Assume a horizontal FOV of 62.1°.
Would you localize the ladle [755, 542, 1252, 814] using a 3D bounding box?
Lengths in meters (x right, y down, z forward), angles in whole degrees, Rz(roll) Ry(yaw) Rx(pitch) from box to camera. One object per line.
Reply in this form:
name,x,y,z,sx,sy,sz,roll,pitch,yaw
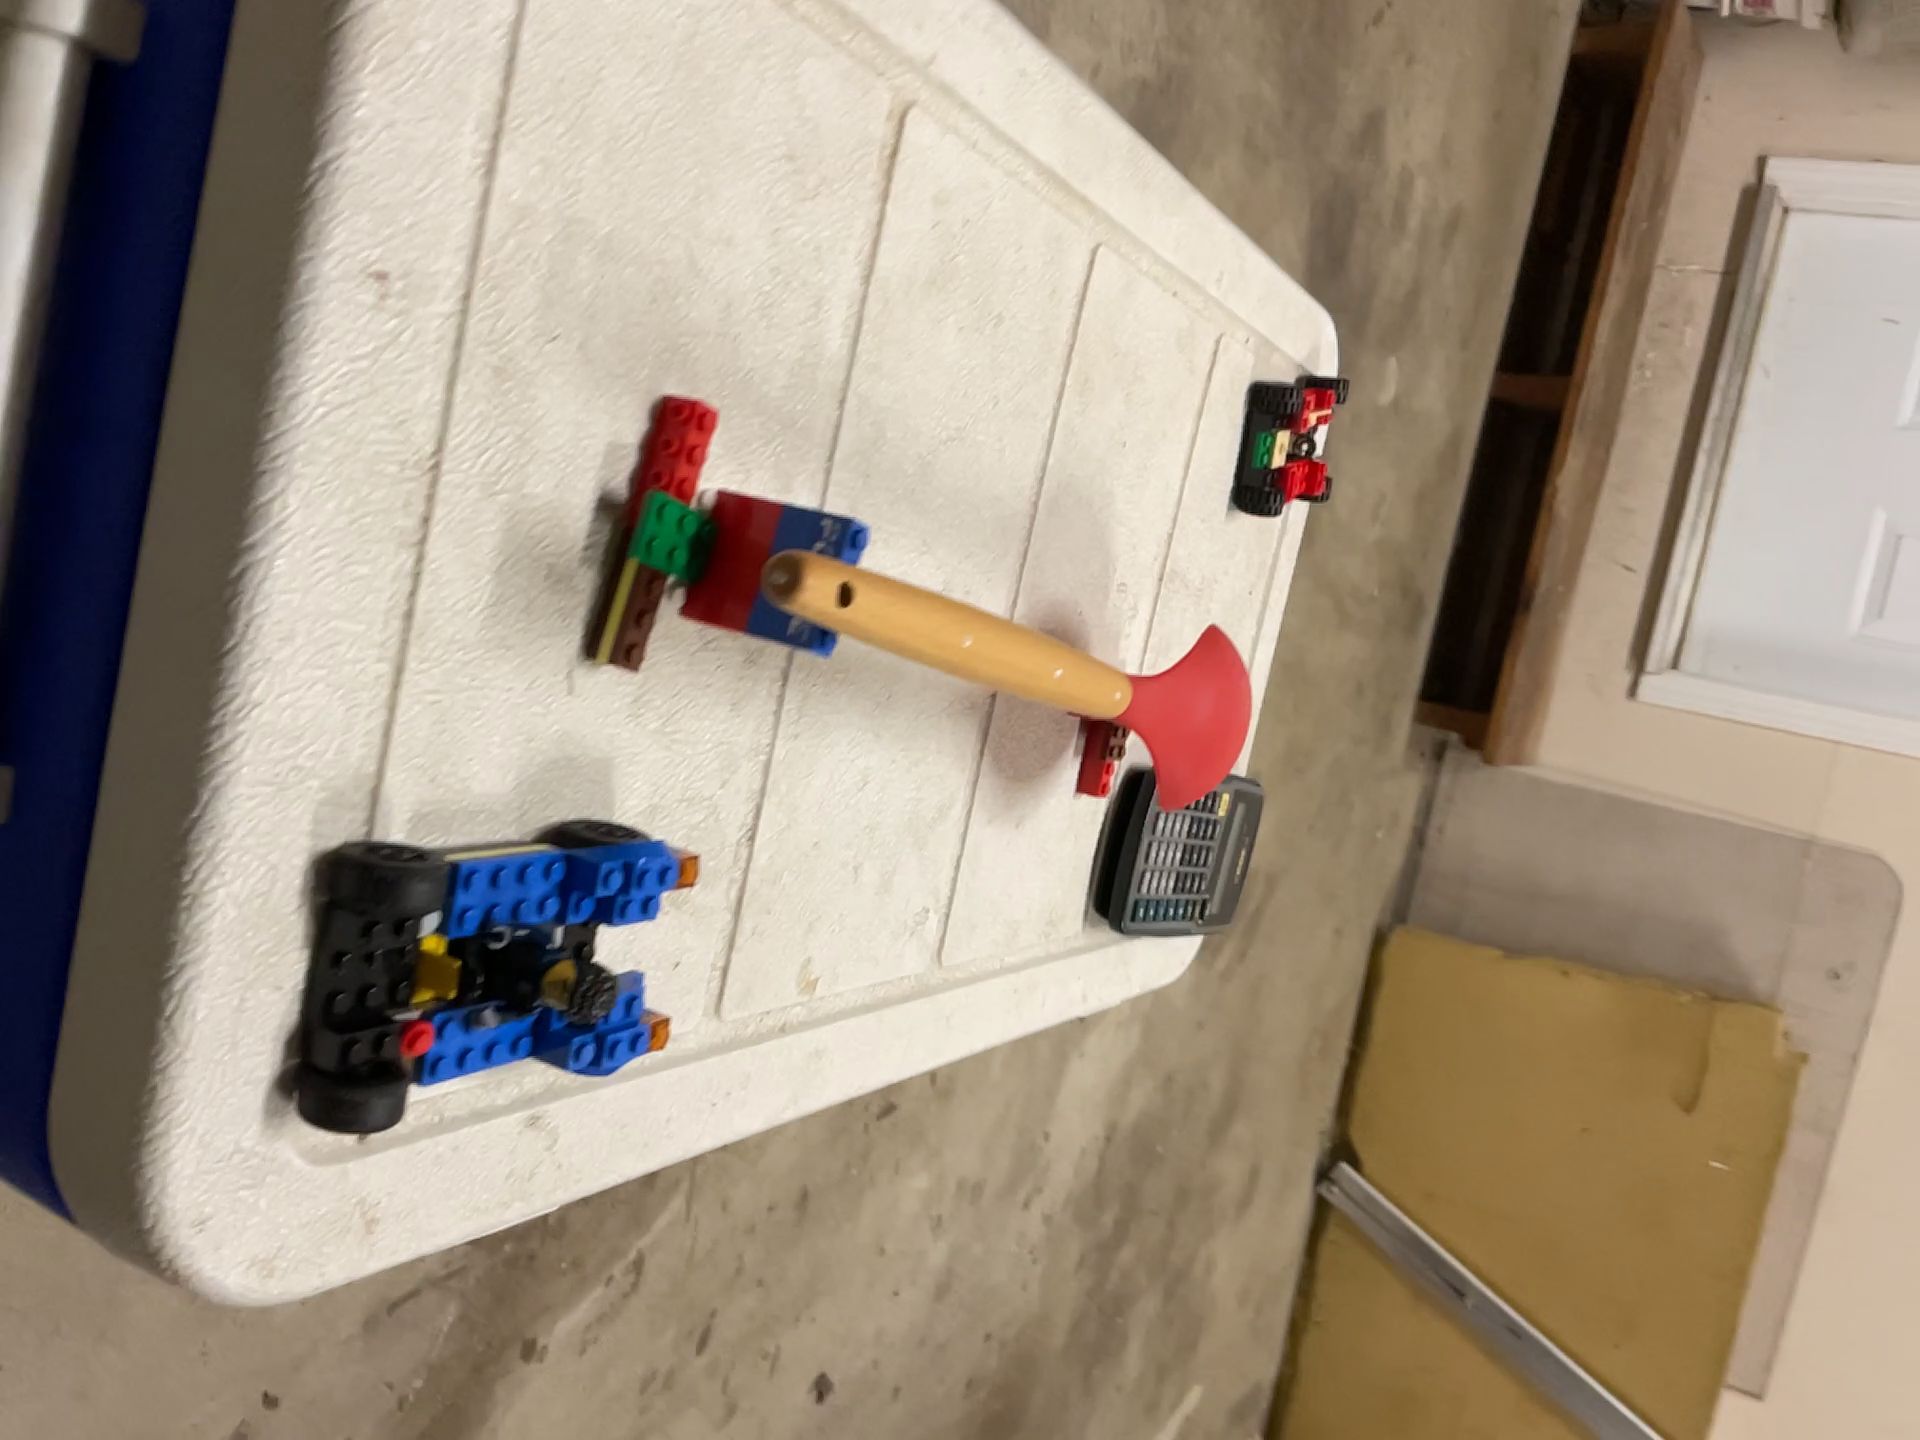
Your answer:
ladle,0.033,-0.013,0.462,0.315,0.031,0.069,15,91,-63
